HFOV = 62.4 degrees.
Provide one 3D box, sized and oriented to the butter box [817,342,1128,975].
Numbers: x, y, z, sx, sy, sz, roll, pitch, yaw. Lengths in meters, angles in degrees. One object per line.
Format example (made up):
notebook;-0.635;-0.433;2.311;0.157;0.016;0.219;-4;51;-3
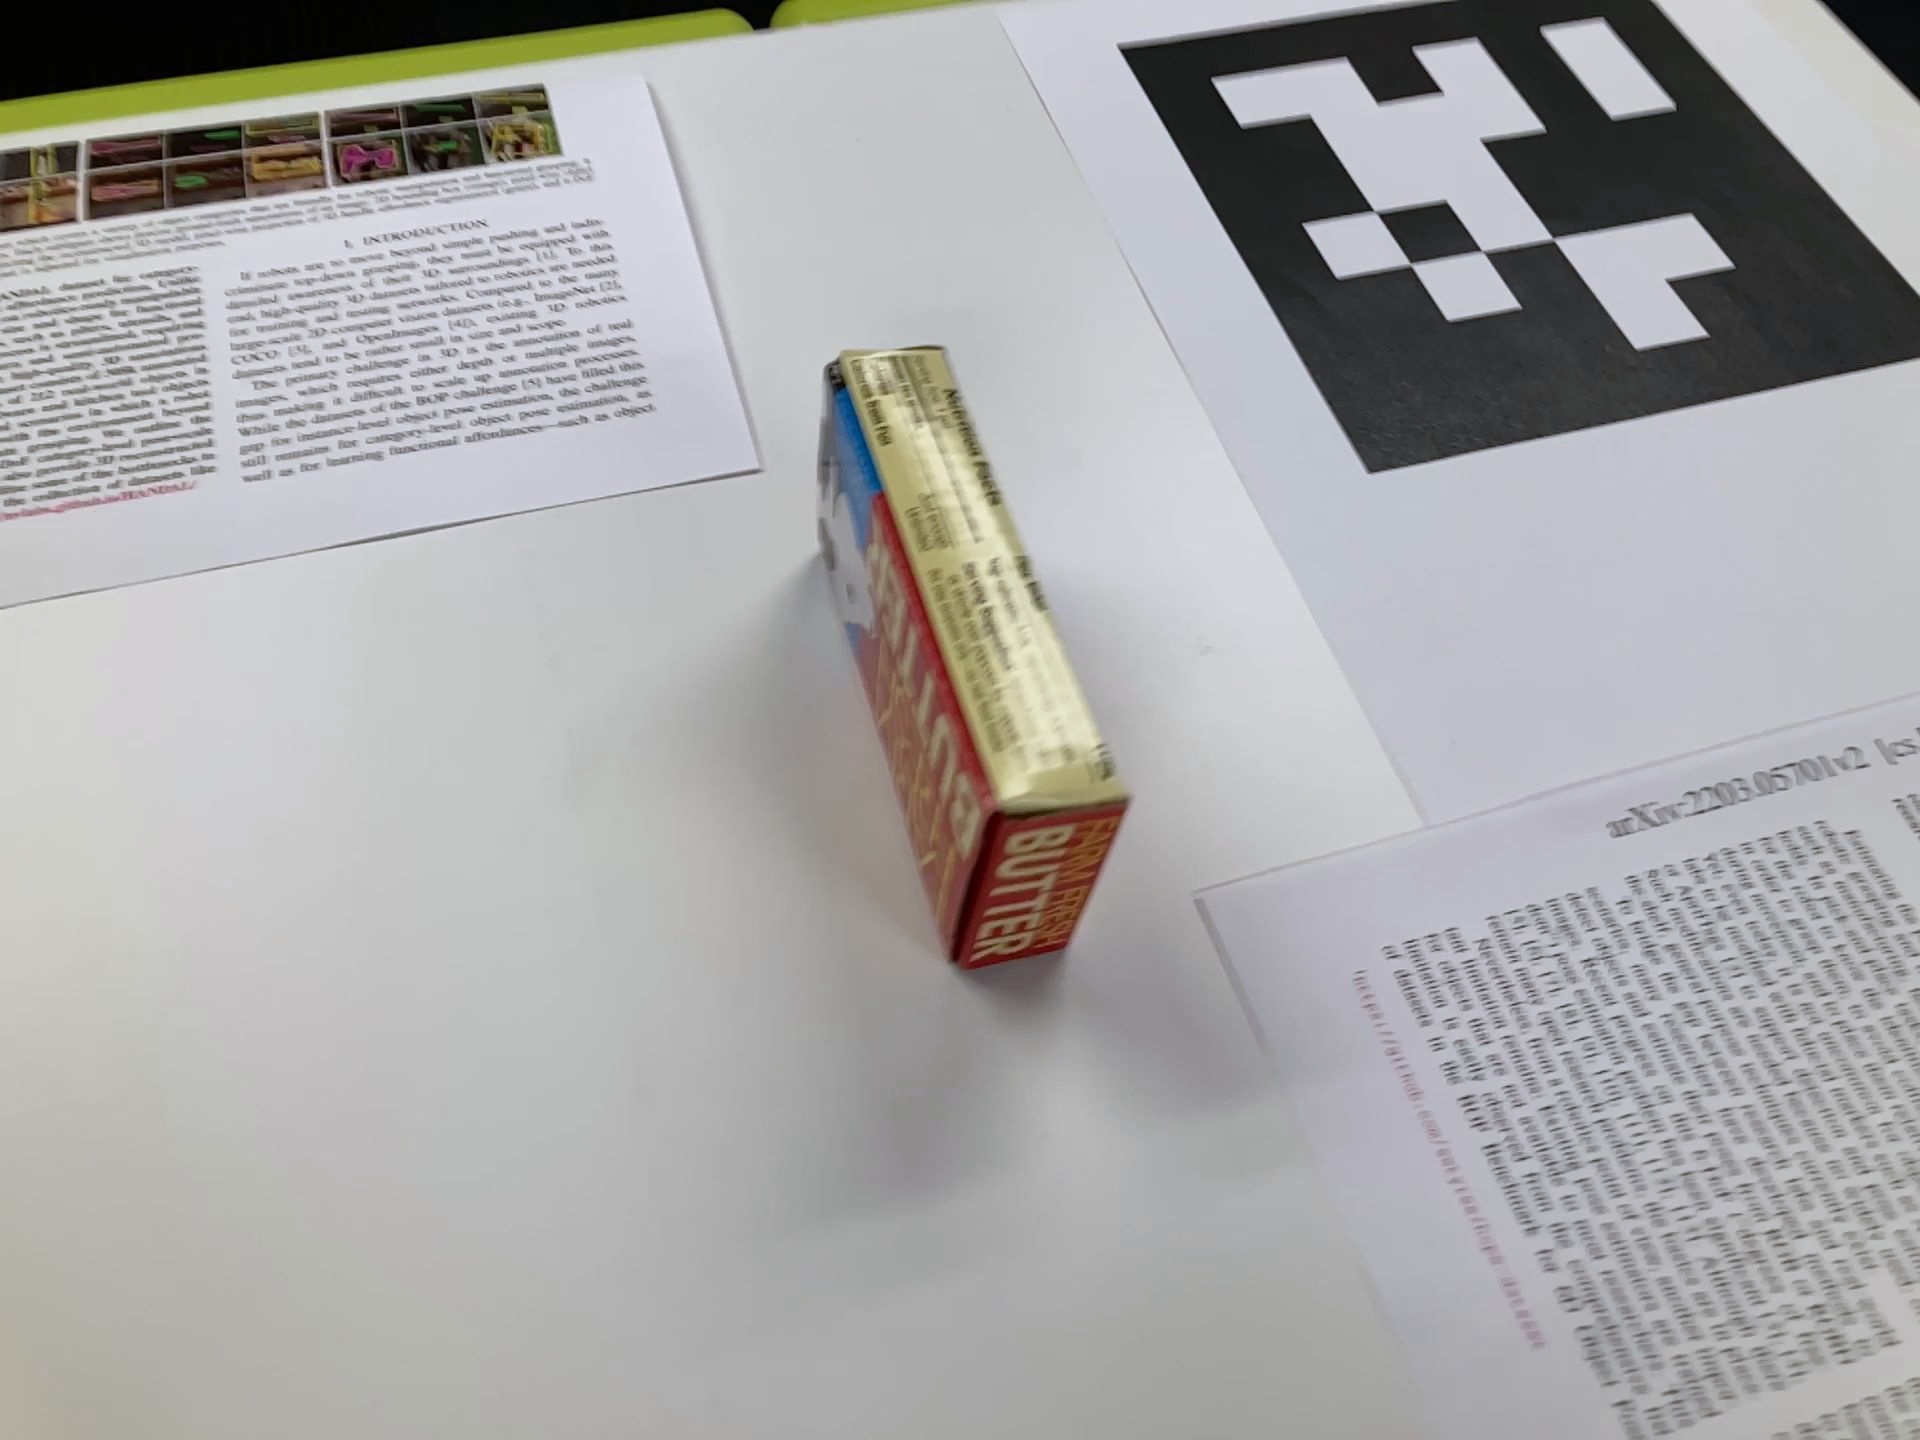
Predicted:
butter box;-0.002;-0.012;0.283;0.024;0.053;0.103;-11;58;-14
